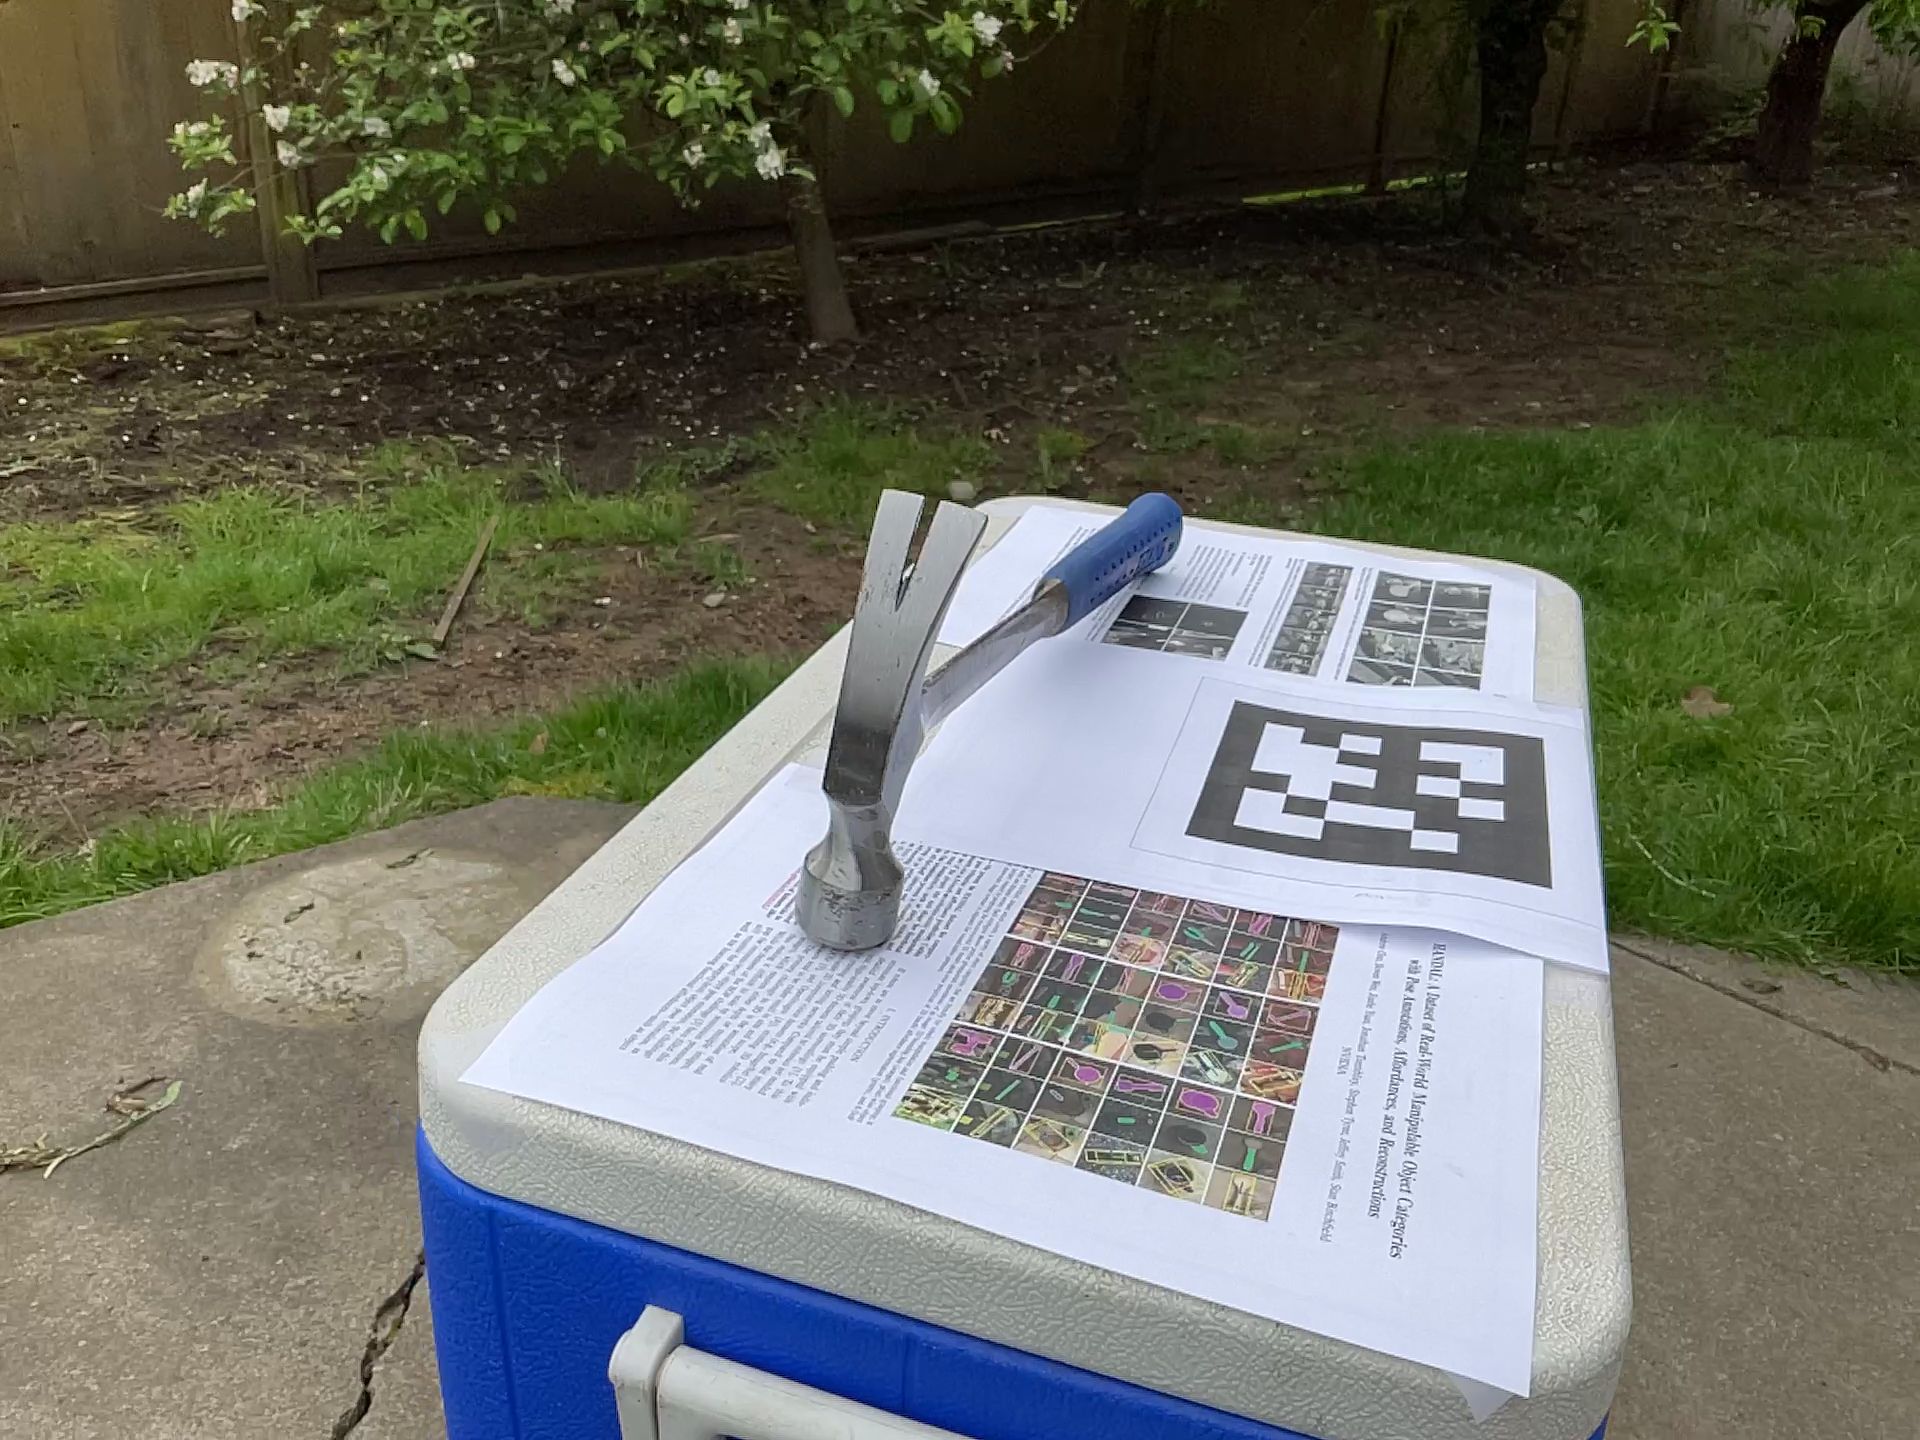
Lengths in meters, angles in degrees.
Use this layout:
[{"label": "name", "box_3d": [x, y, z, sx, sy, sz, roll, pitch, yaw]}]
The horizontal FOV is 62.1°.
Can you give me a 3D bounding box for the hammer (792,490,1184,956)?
[{"label": "hammer", "box_3d": [0.036, -0.048, 0.660, 0.035, 0.144, 0.405, 17, 21, 14]}]
